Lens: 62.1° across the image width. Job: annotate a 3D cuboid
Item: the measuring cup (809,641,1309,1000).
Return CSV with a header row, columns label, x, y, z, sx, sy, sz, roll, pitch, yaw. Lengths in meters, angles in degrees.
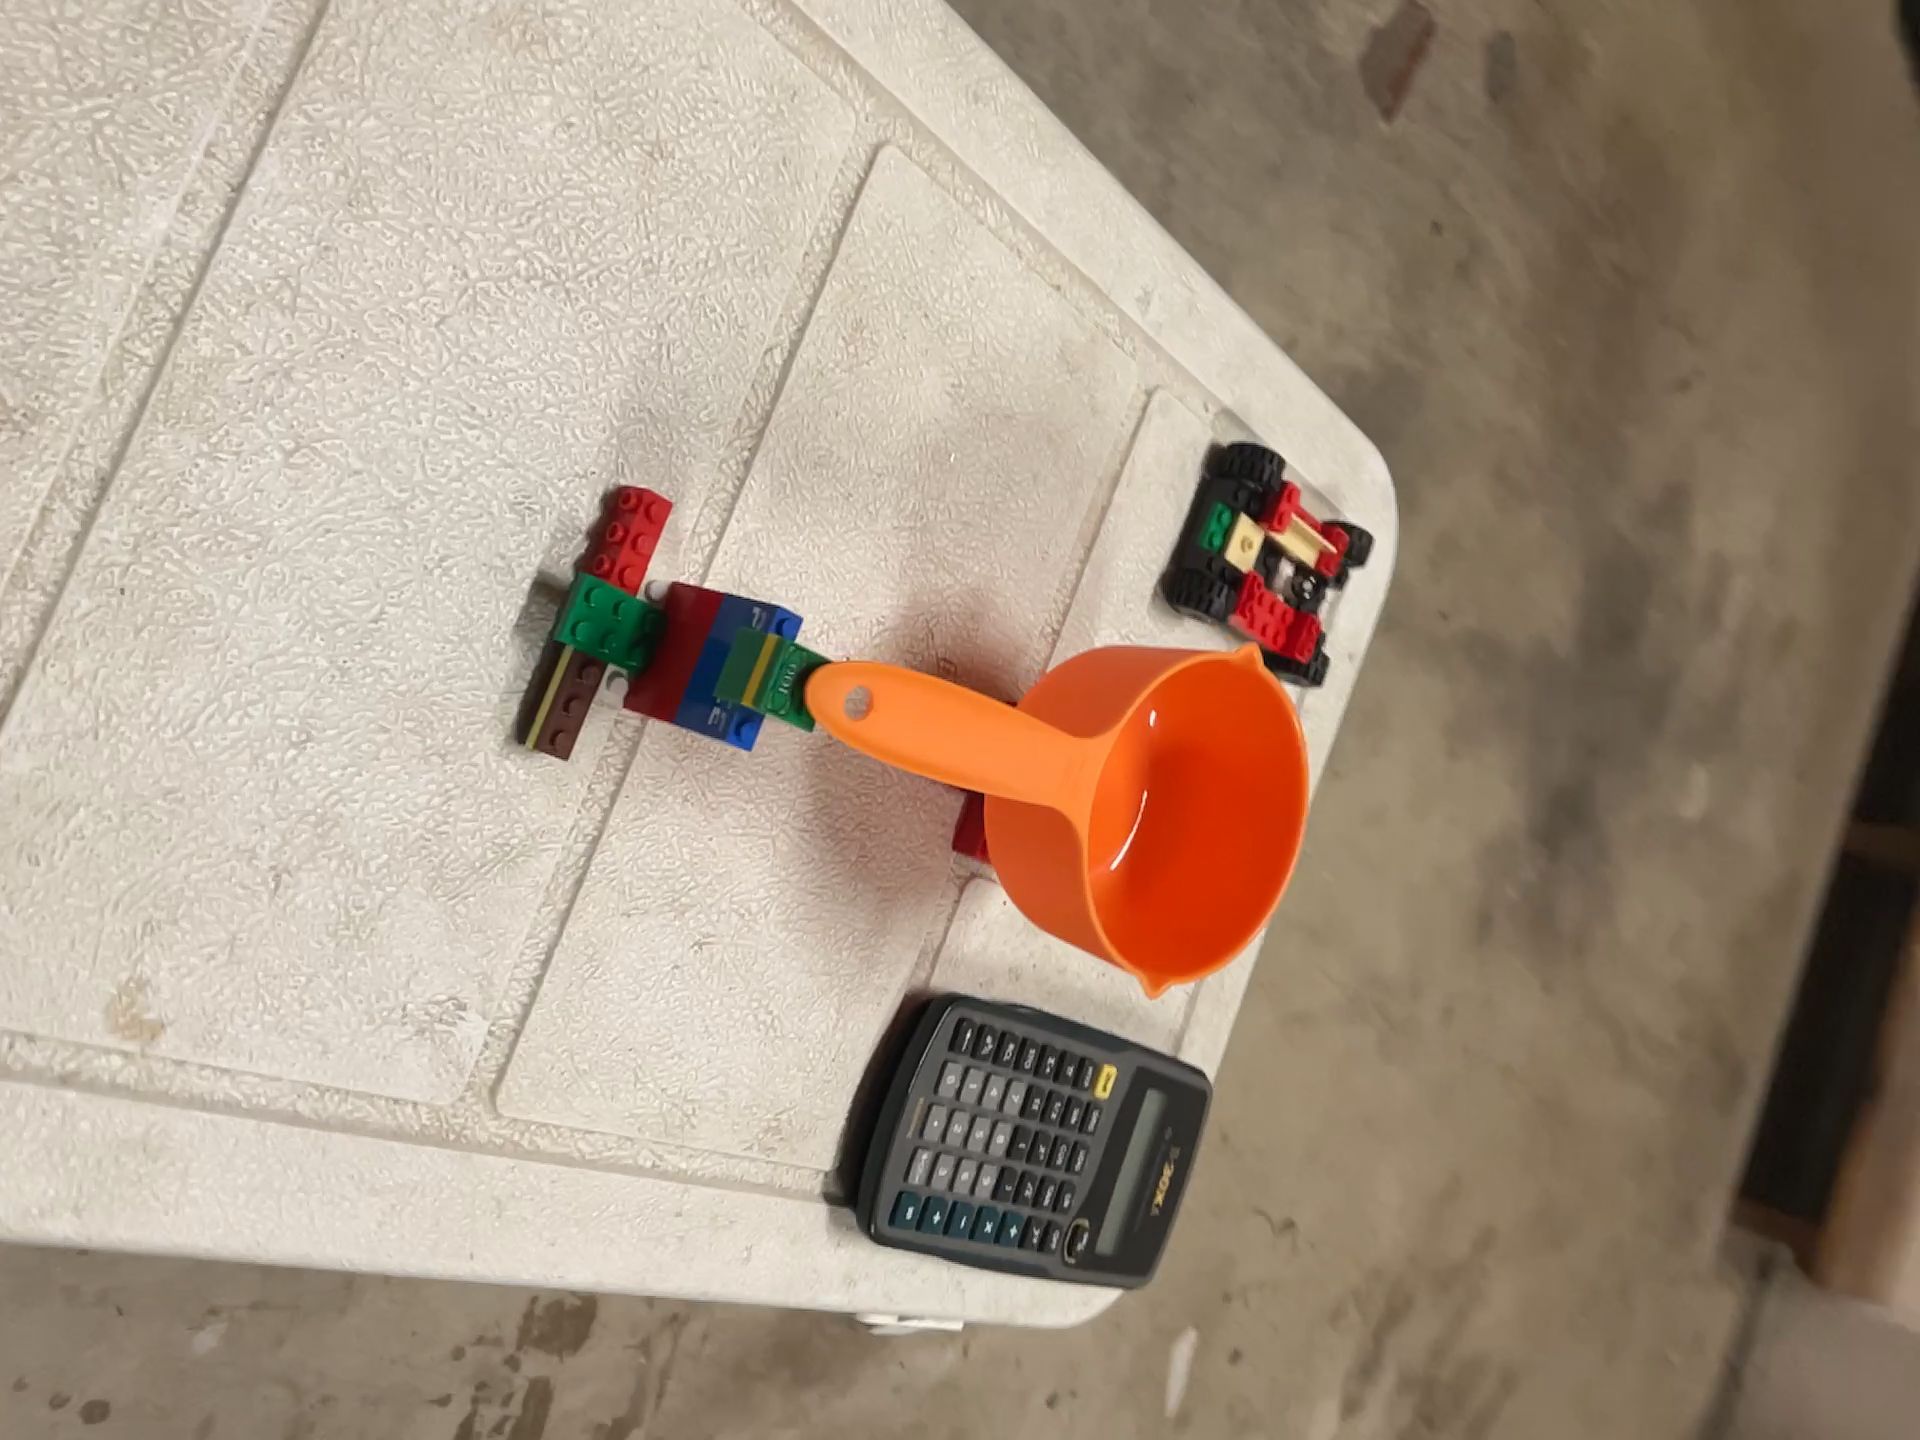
label,x,y,z,sx,sy,sz,roll,pitch,yaw
measuring cup,0.017,0.011,0.401,0.173,0.052,0.095,20,86,-41
